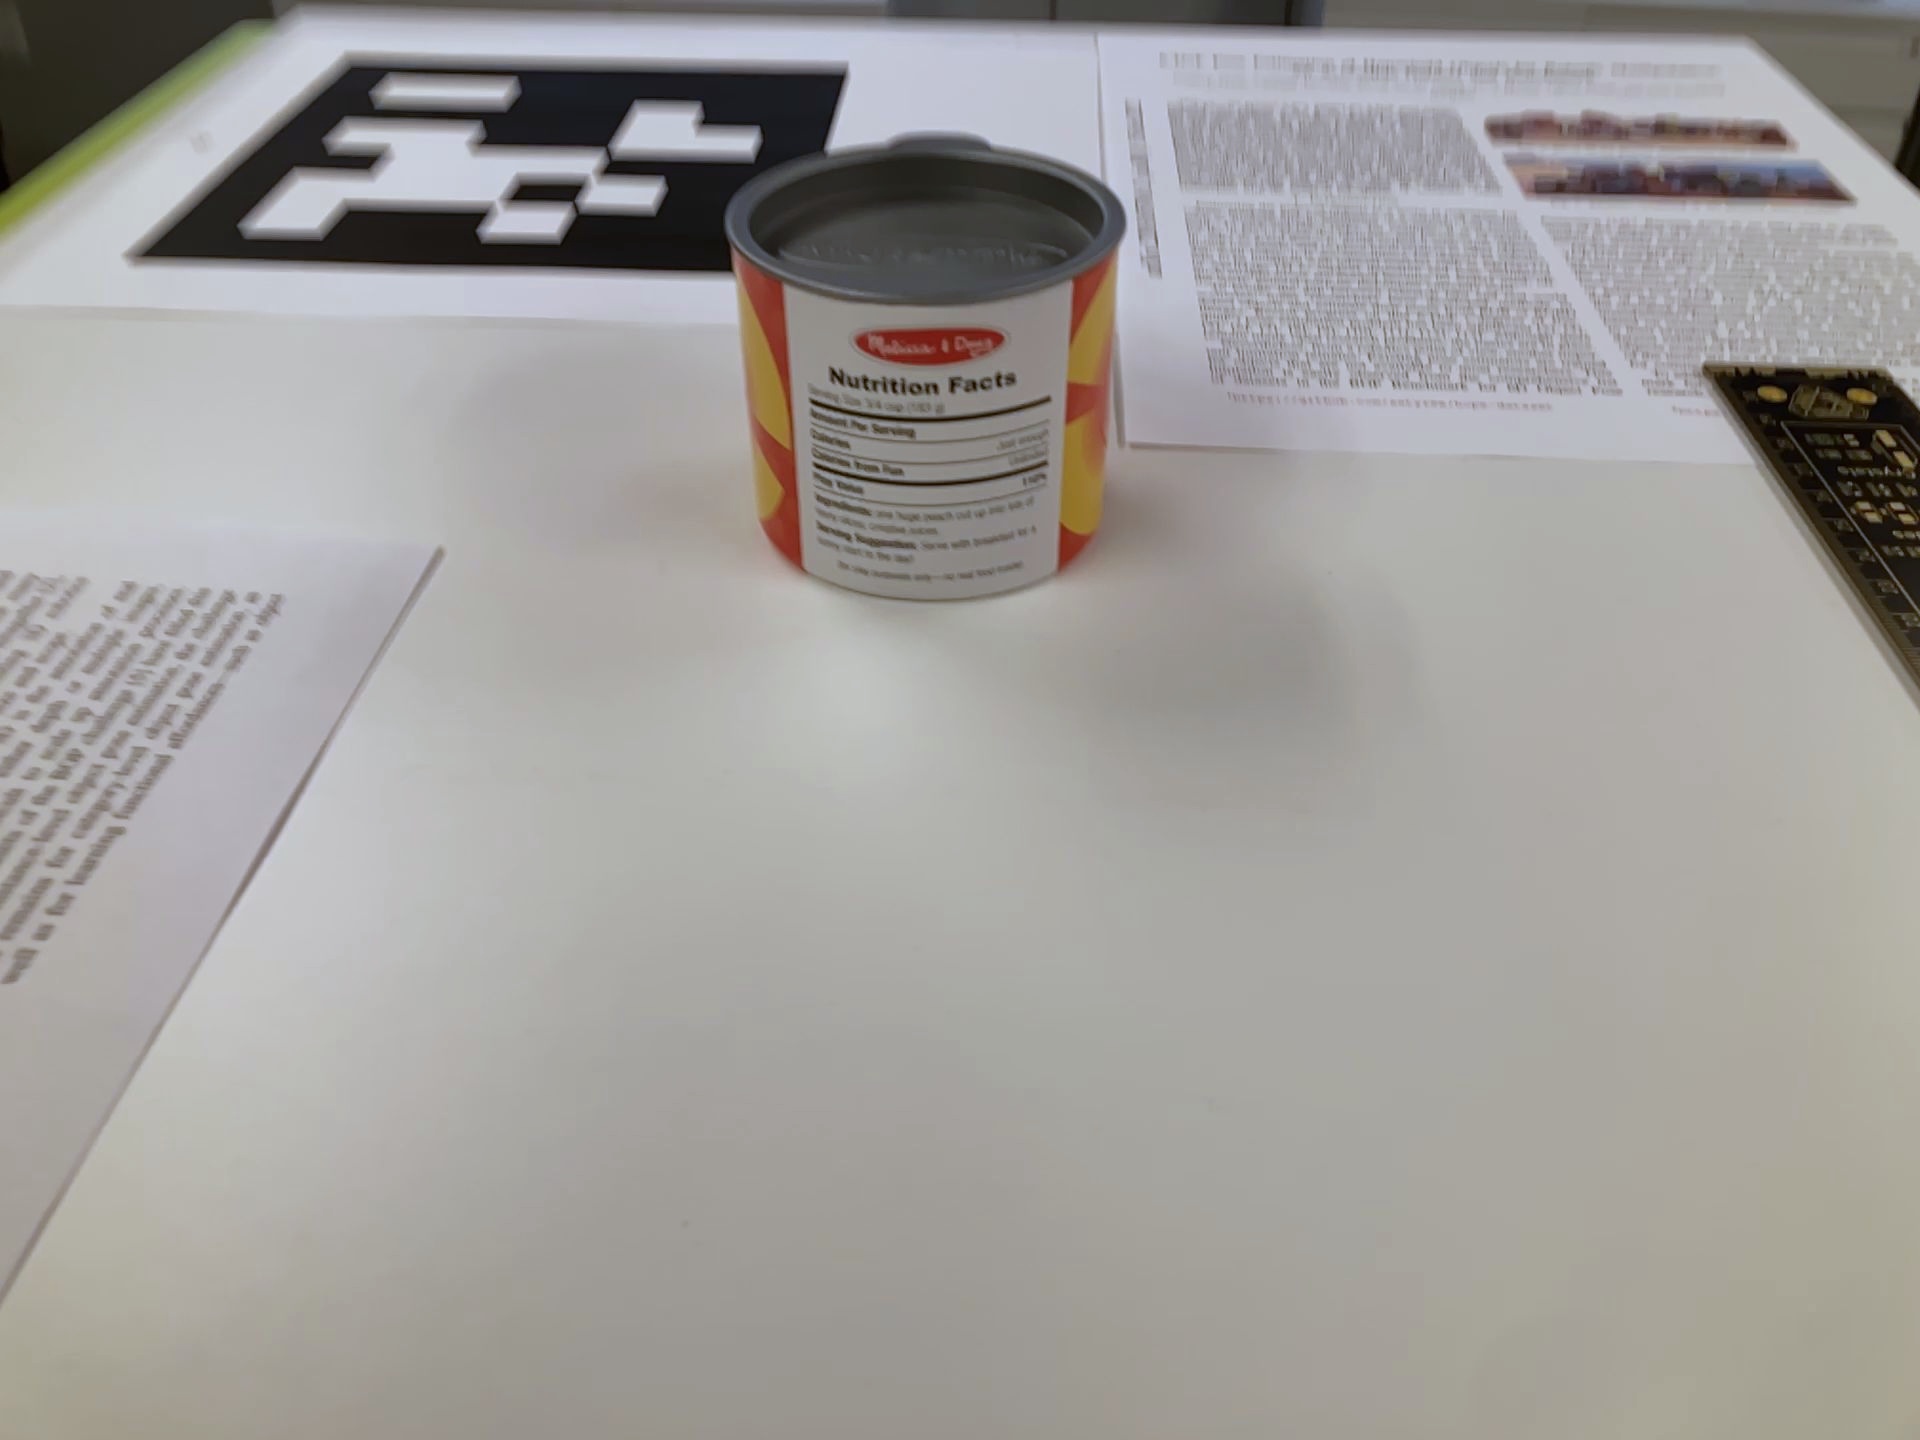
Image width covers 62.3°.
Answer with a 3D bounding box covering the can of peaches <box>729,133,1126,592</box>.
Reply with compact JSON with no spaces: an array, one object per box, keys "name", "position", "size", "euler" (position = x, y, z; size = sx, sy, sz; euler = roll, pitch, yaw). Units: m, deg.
[{"name":"can of peaches","position":[-0.005,-0.065,0.284],"size":[0.071,0.058,0.071],"euler":[0,38,0]}]
